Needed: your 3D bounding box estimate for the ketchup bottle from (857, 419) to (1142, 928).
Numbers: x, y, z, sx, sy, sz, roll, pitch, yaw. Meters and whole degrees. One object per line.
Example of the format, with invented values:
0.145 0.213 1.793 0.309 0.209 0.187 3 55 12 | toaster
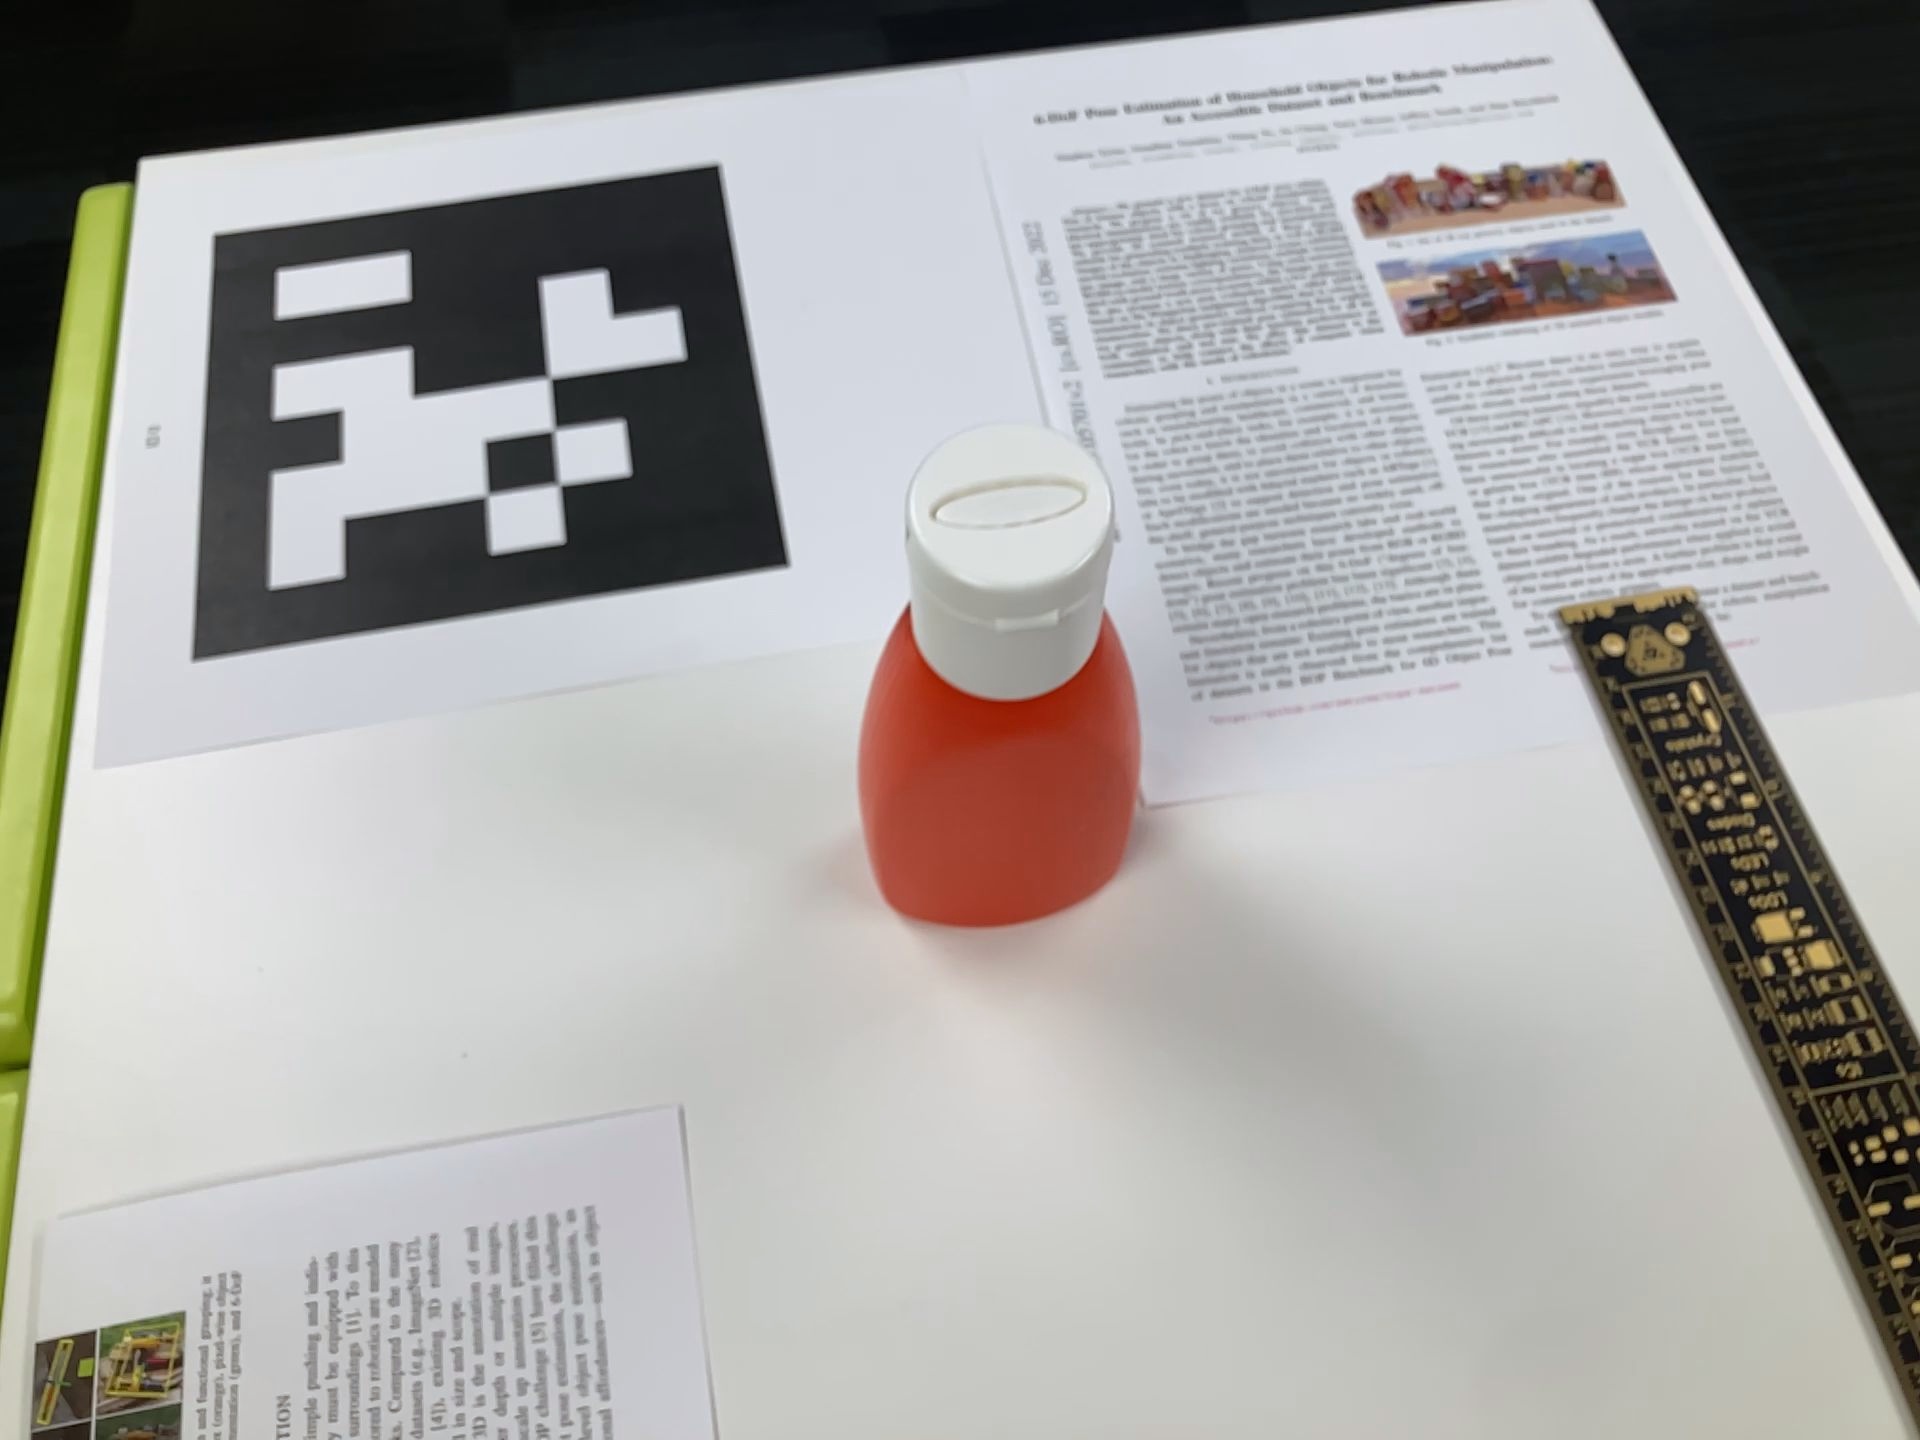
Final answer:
0.009 -0.002 0.336 0.065 0.149 0.043 -8 62 -4 | ketchup bottle
